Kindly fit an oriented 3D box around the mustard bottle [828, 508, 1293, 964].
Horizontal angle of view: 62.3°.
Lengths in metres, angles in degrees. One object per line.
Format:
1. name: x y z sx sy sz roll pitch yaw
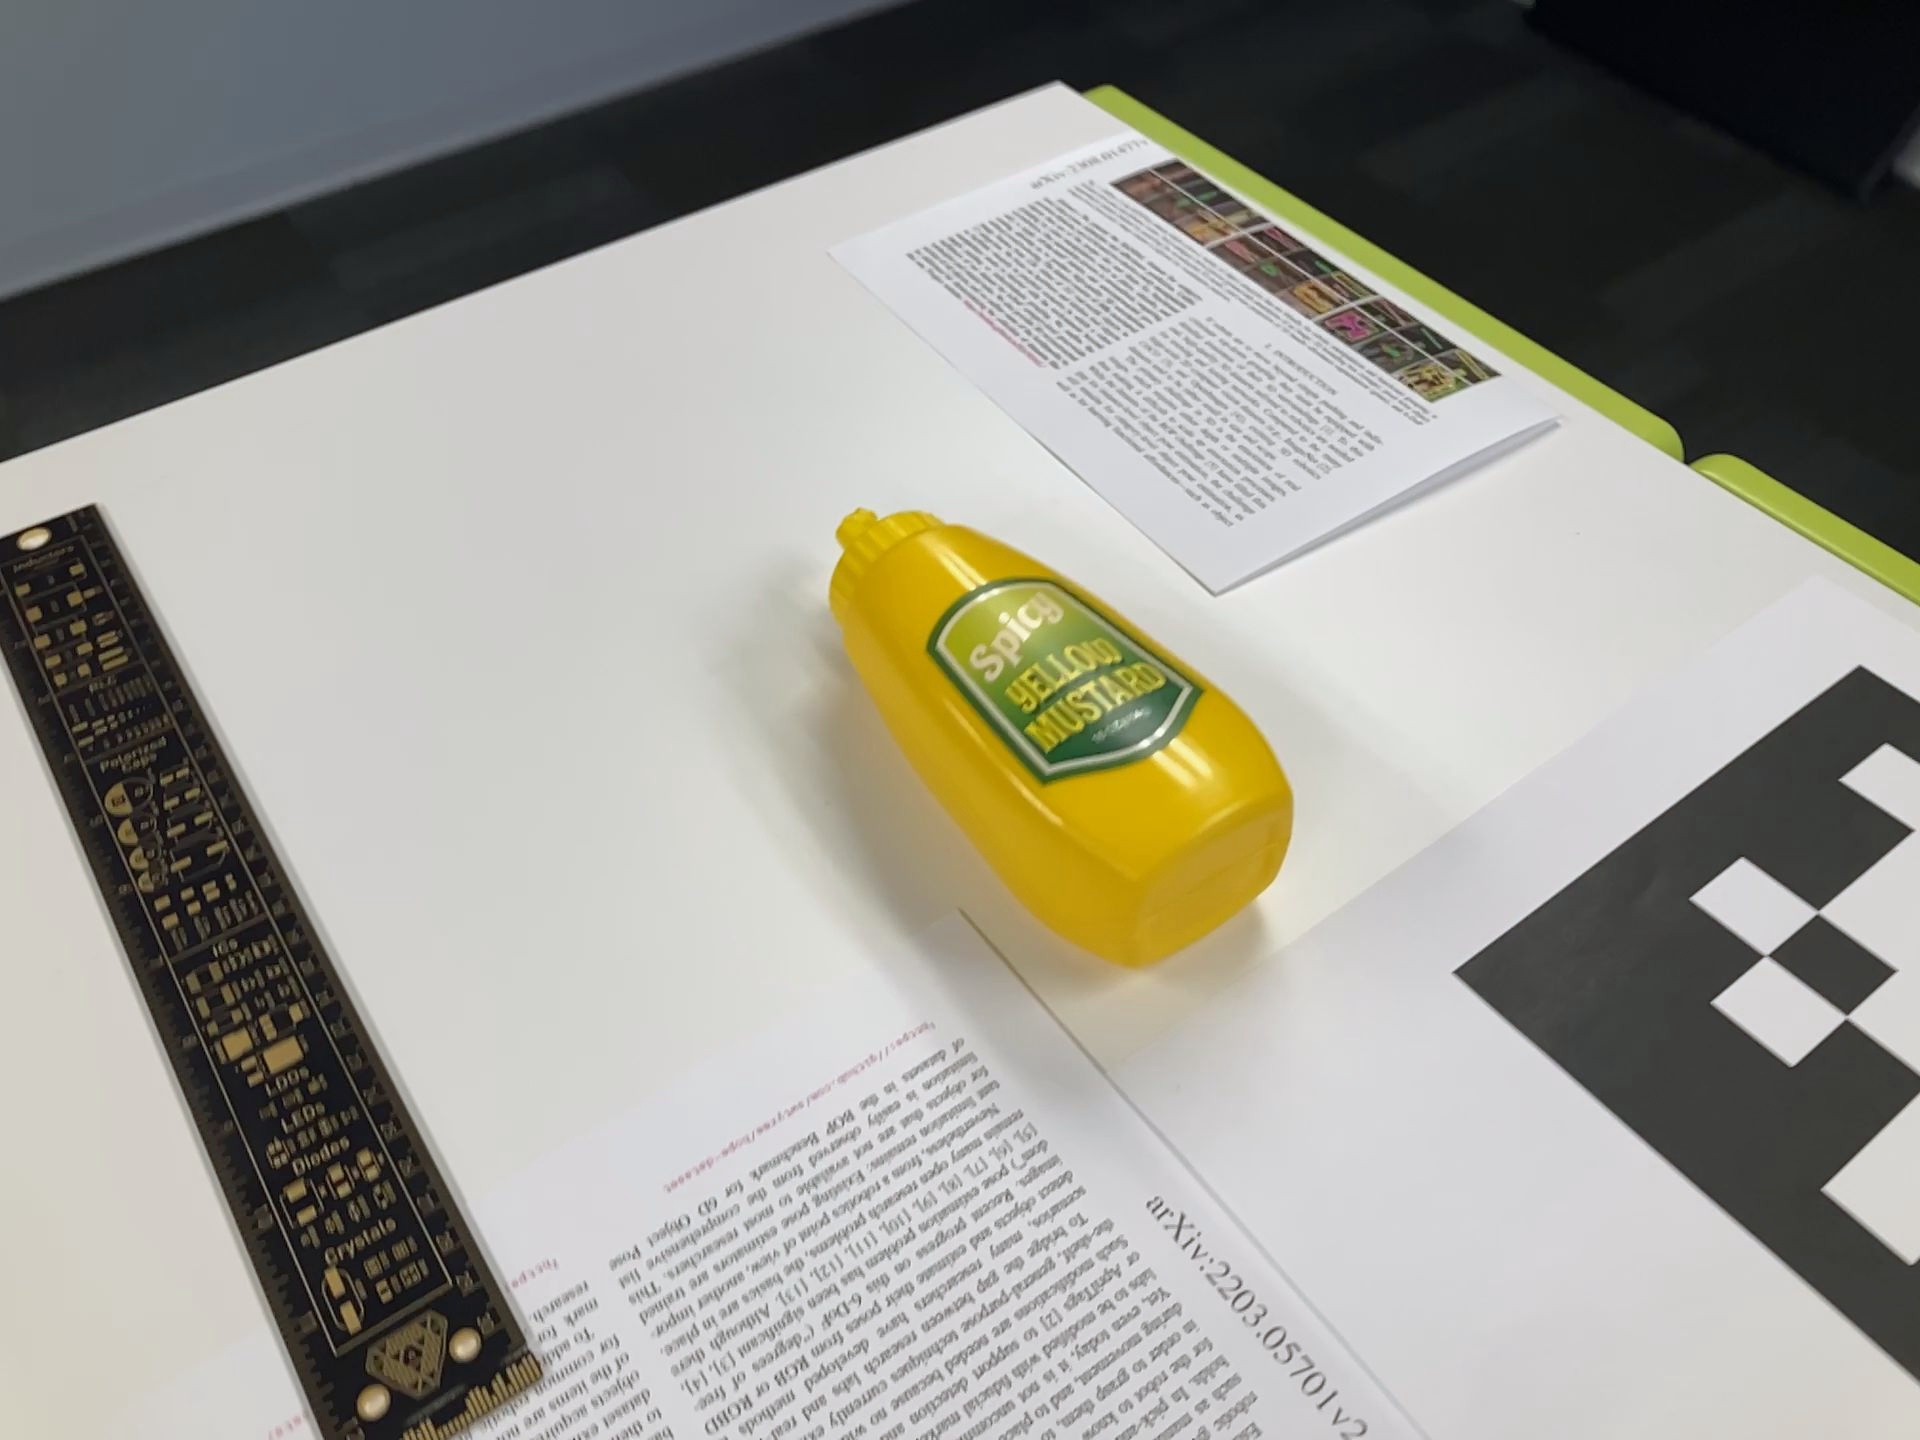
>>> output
1. mustard bottle: 0.009 -0.011 0.394 0.065 0.049 0.160 -29 53 -24
